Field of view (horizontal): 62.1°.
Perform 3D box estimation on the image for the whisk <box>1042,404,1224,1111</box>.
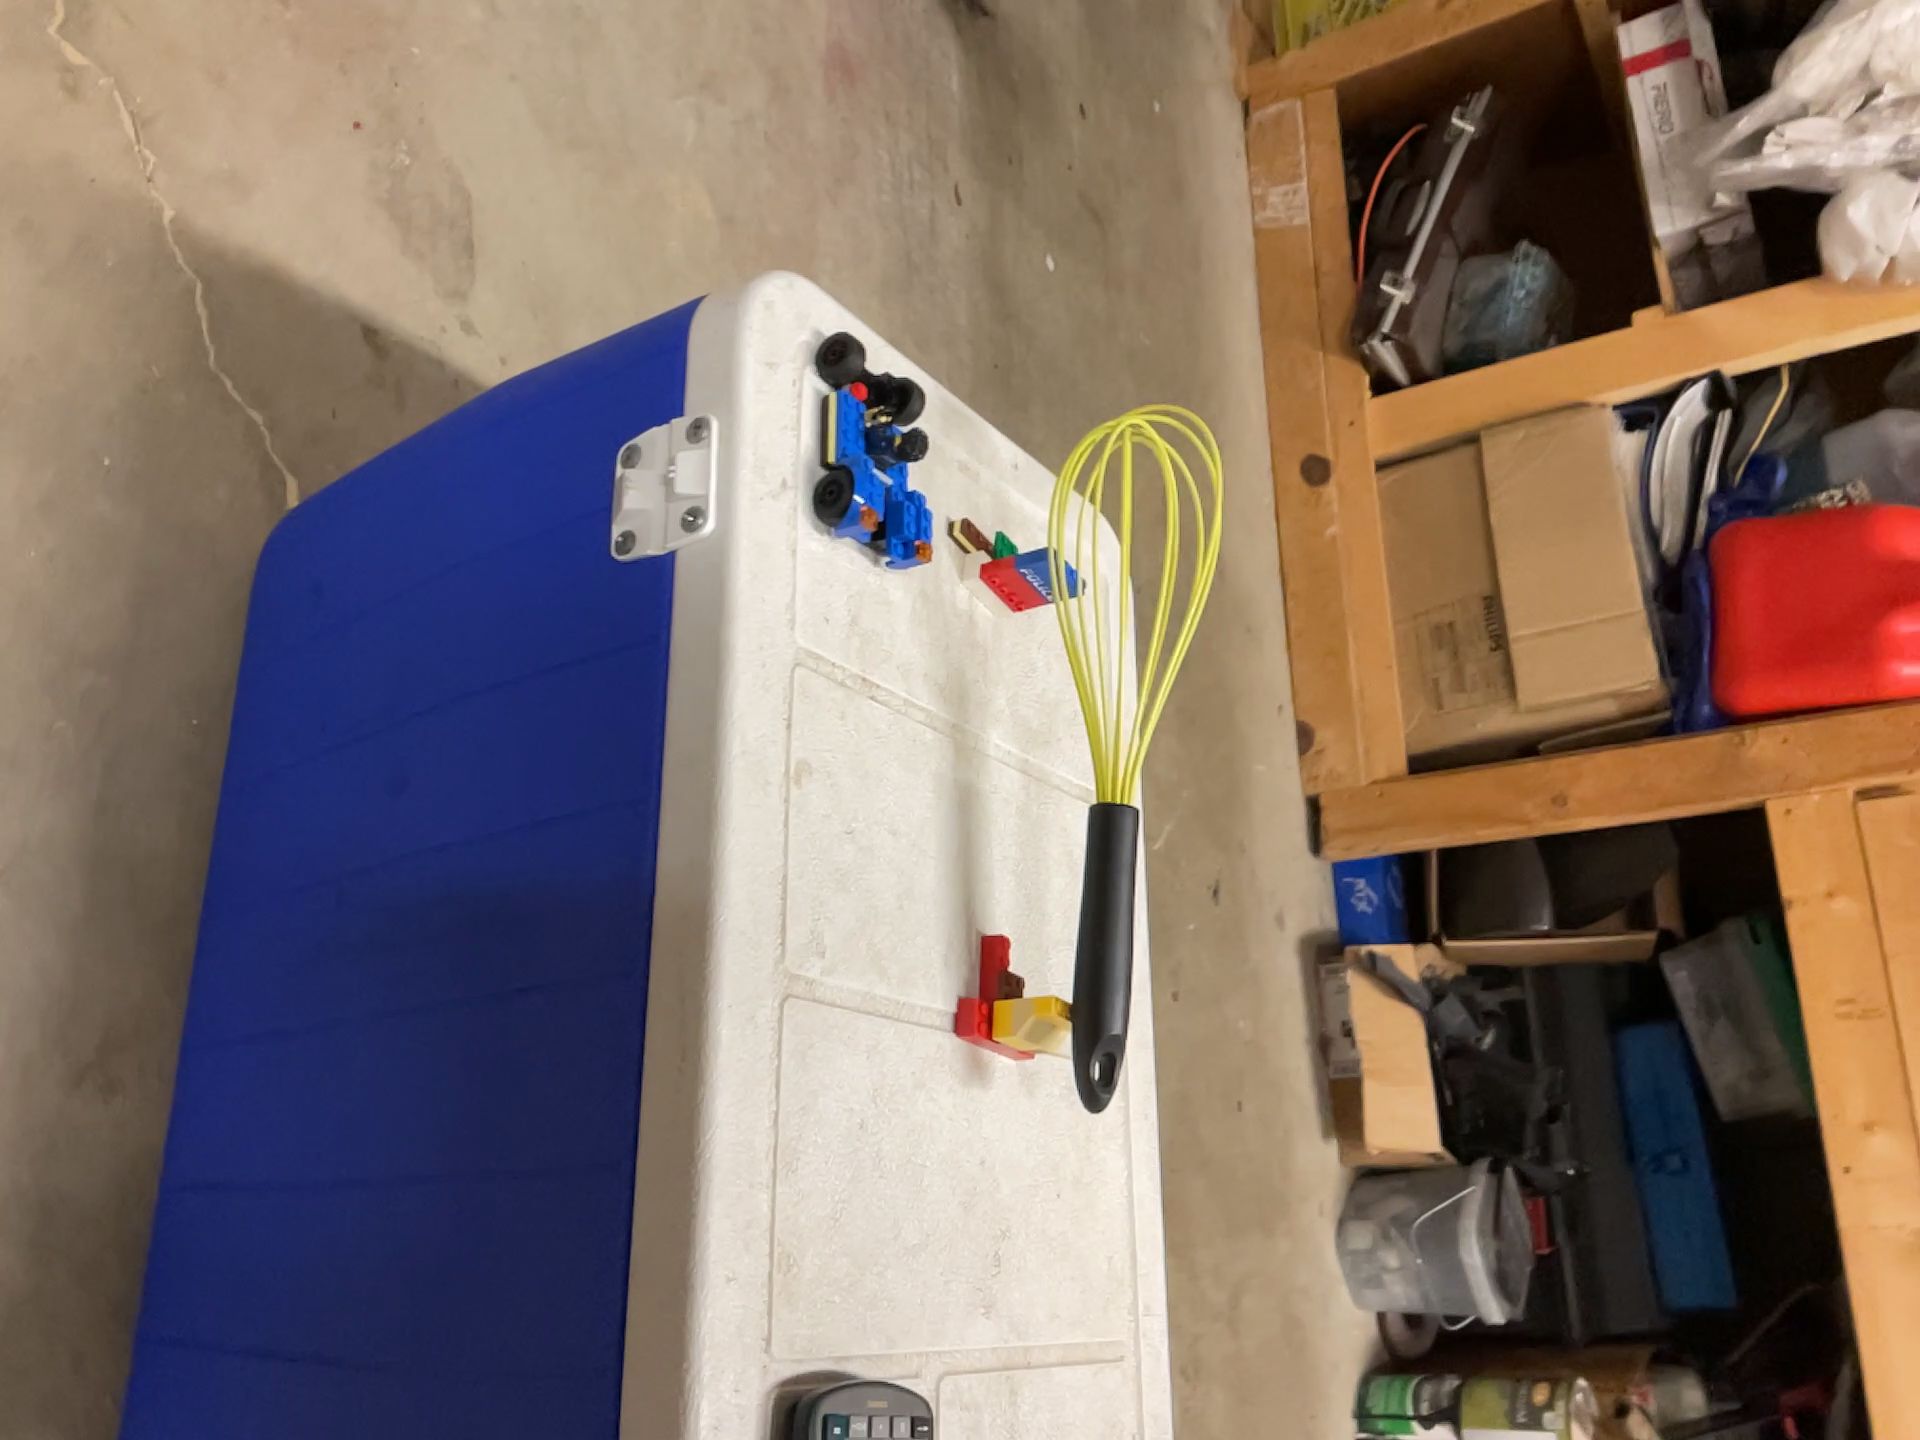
[{"bbox_3d":[0.067,0.009,0.689,0.080,0.067,0.312,8,76,-9],"label":"whisk"}]
